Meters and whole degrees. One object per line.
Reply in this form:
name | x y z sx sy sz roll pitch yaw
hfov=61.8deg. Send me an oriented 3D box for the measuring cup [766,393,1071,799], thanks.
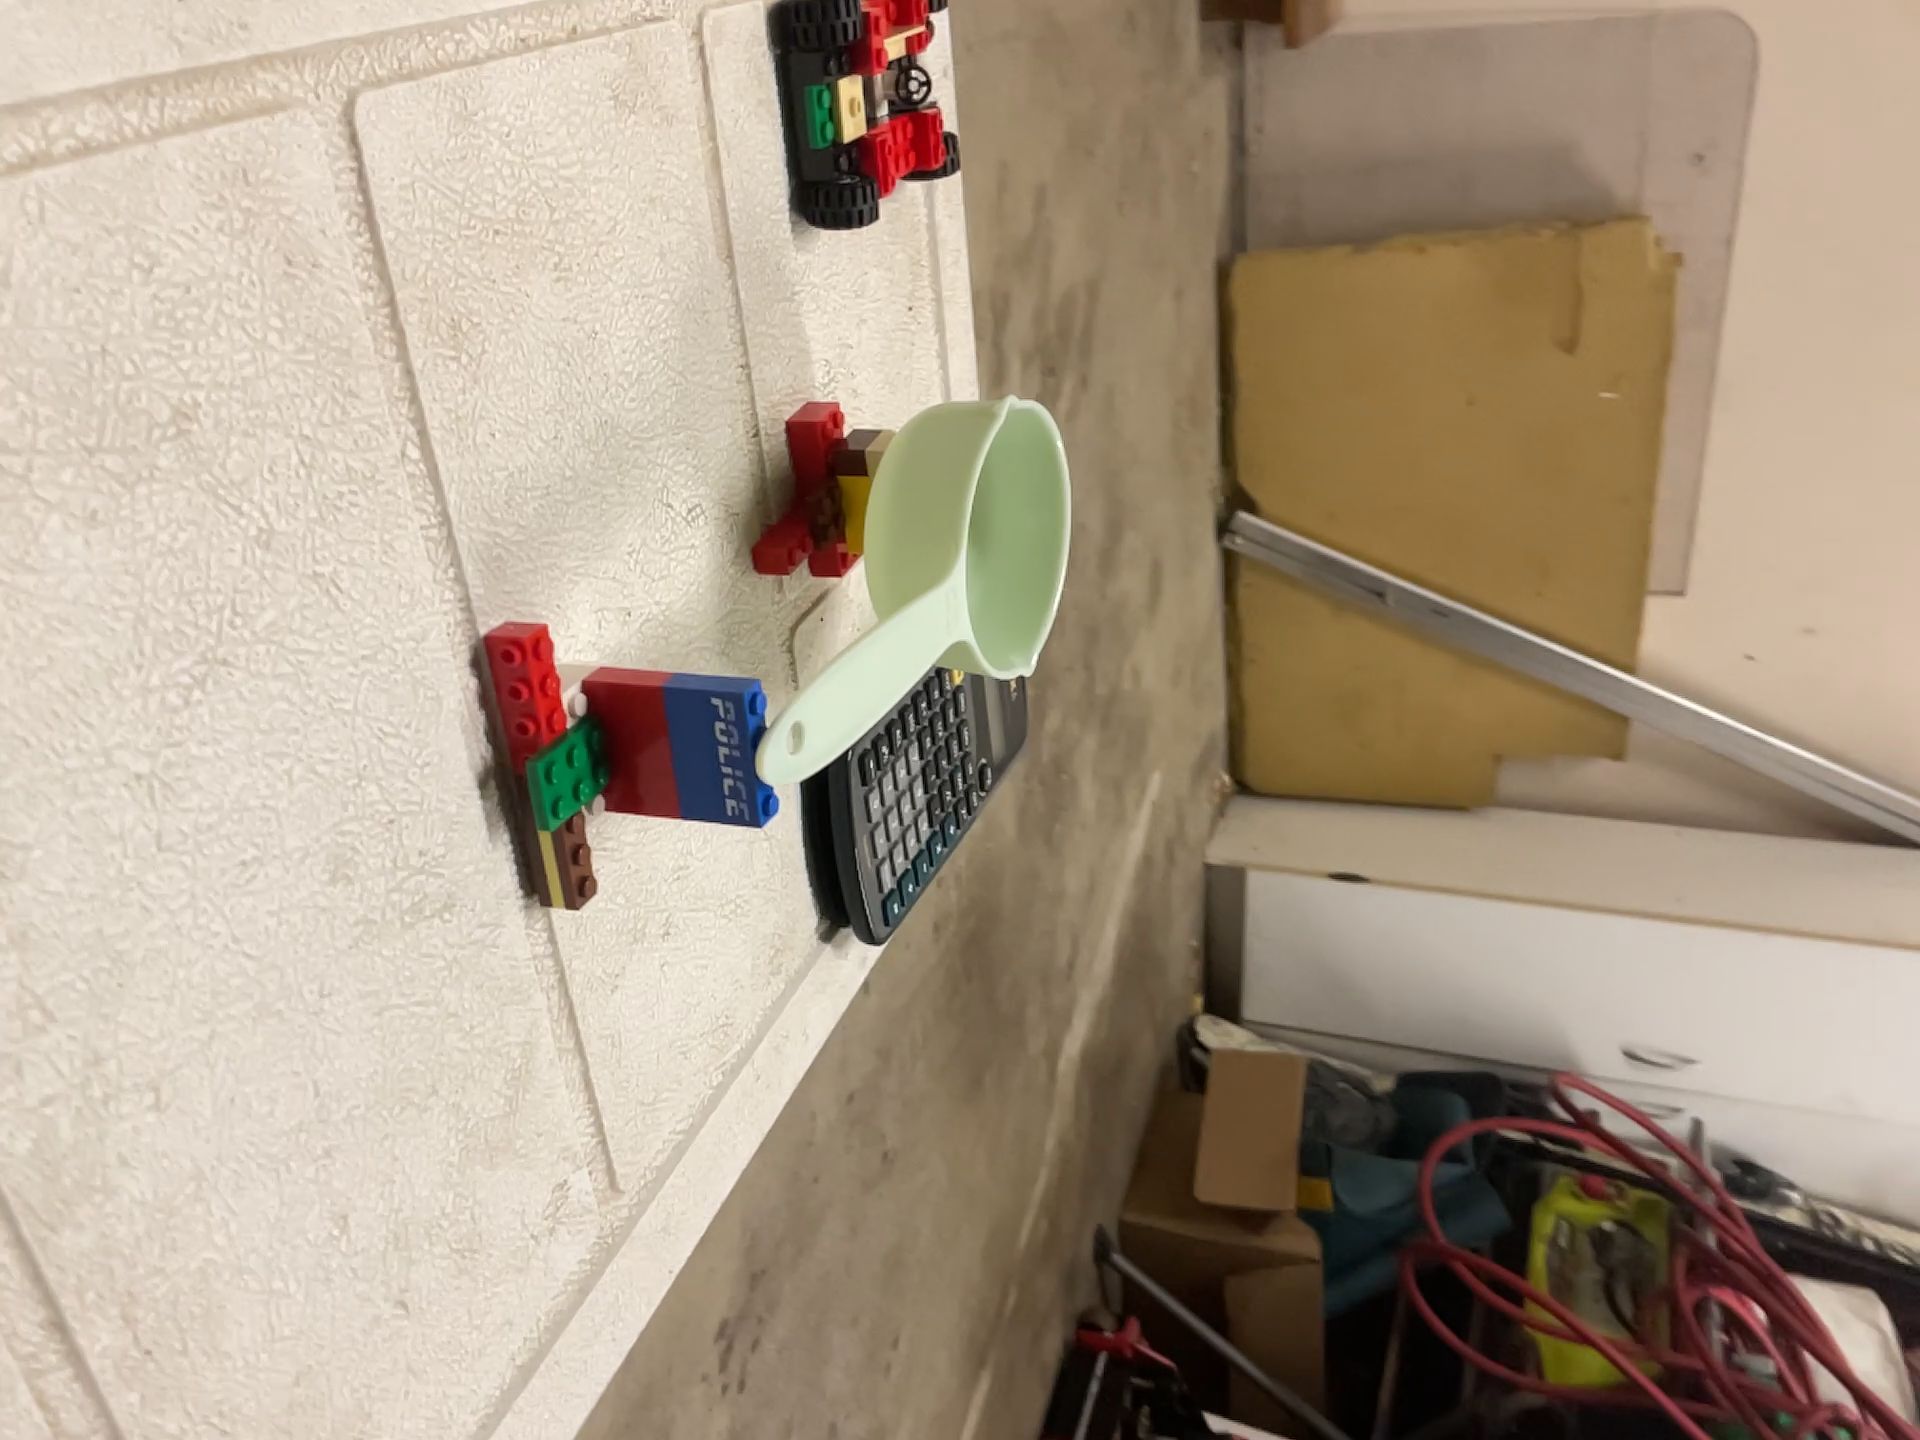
measuring cup | -0.018 -0.029 0.409 0.168 0.038 0.083 -49 141 -50
